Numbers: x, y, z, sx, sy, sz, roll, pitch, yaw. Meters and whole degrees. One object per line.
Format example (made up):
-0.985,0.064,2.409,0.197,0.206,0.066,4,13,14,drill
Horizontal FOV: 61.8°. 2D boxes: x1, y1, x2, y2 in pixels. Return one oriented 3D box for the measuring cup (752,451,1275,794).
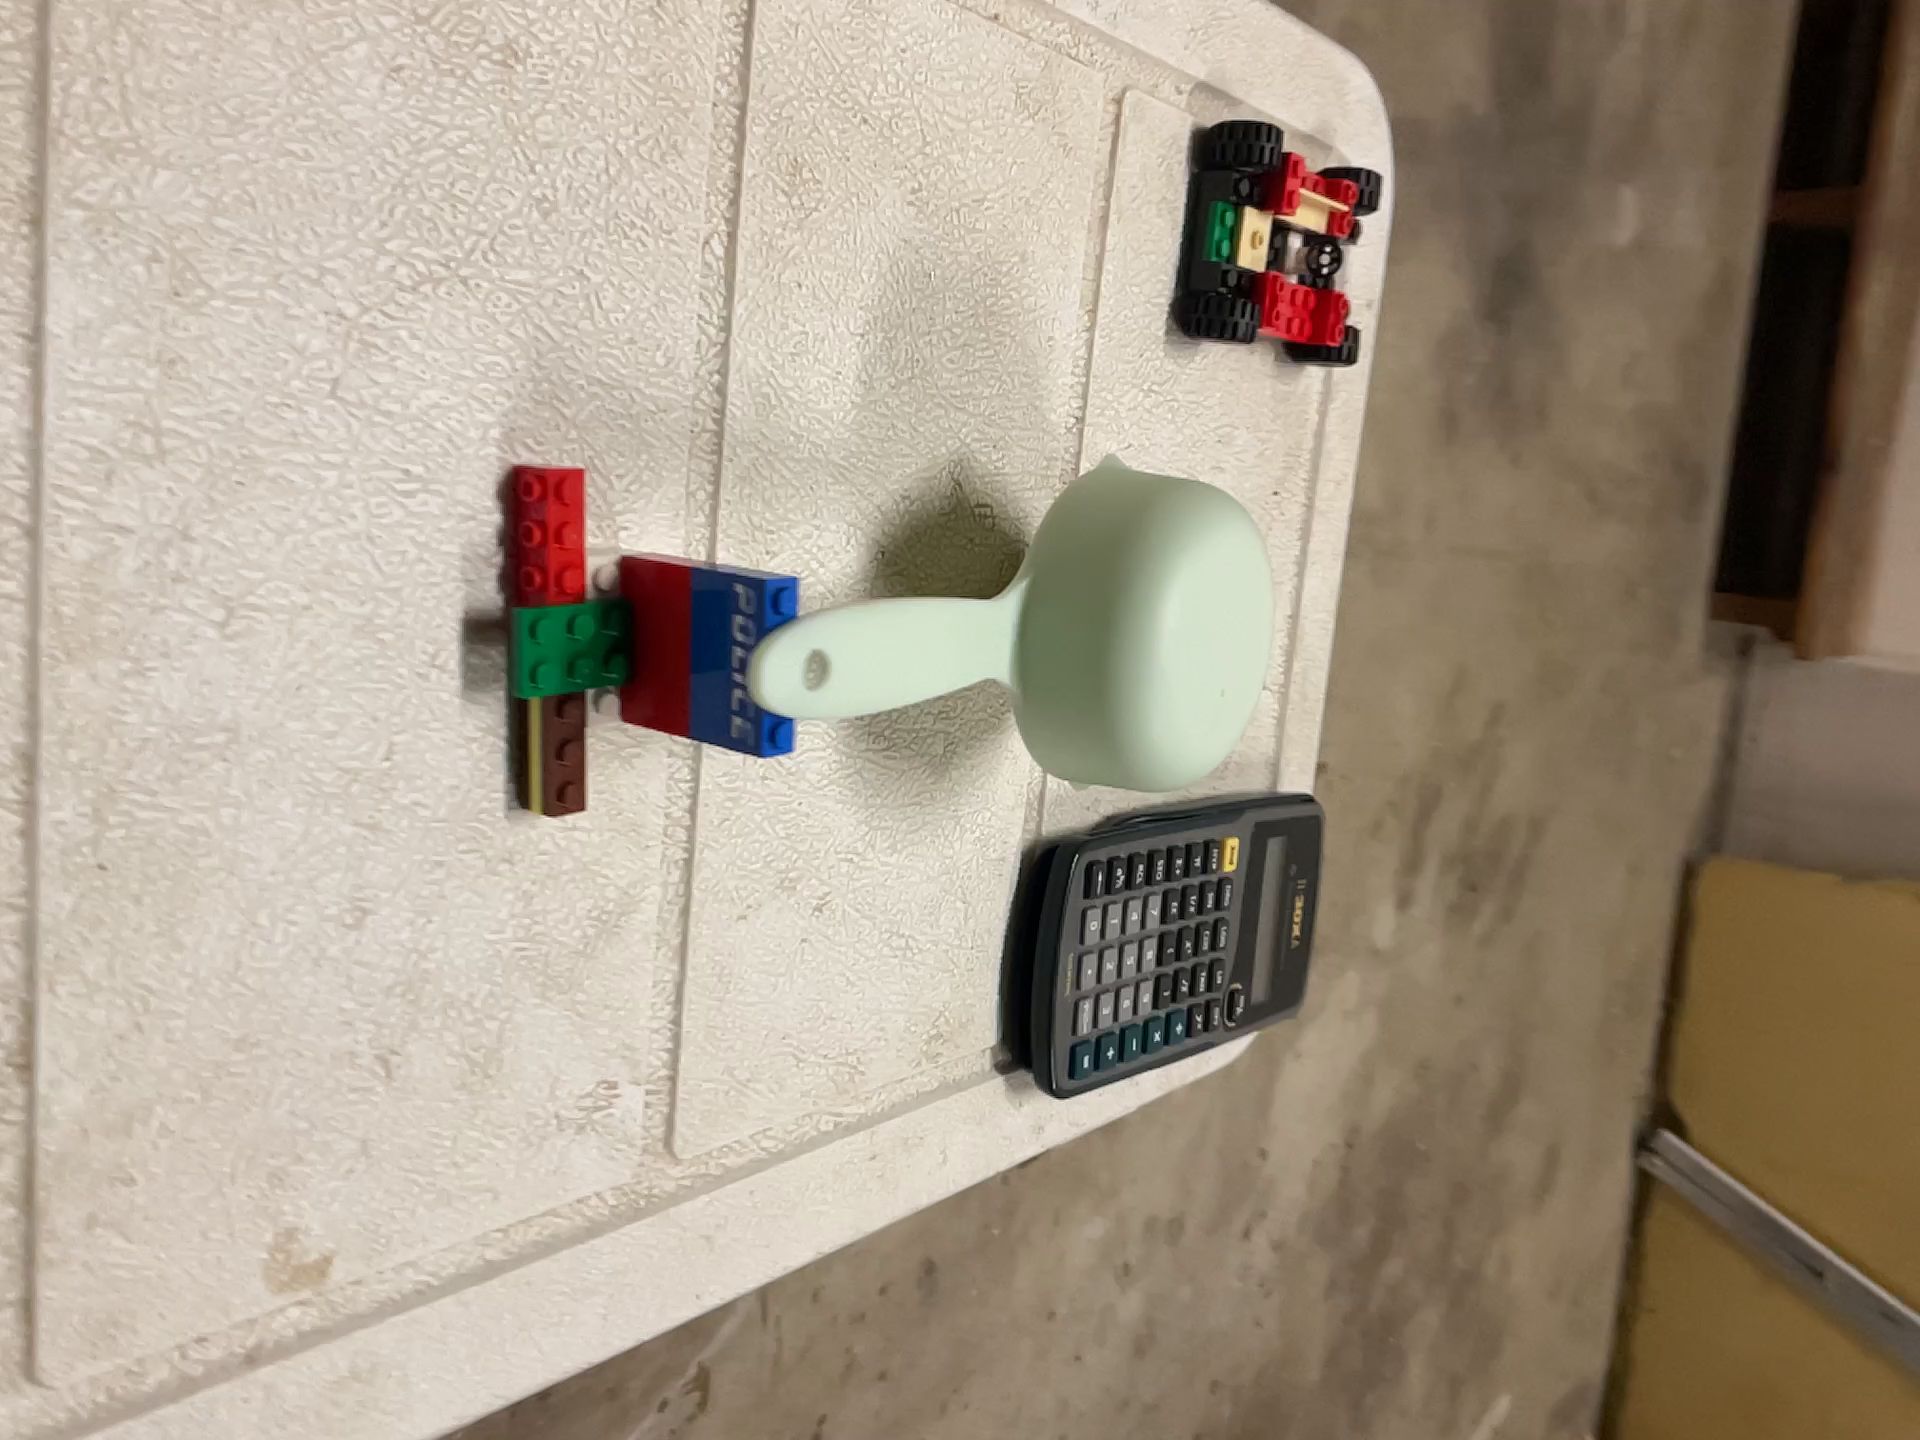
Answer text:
0.022,-0.015,0.339,0.168,0.038,0.083,-12,109,-57,measuring cup
